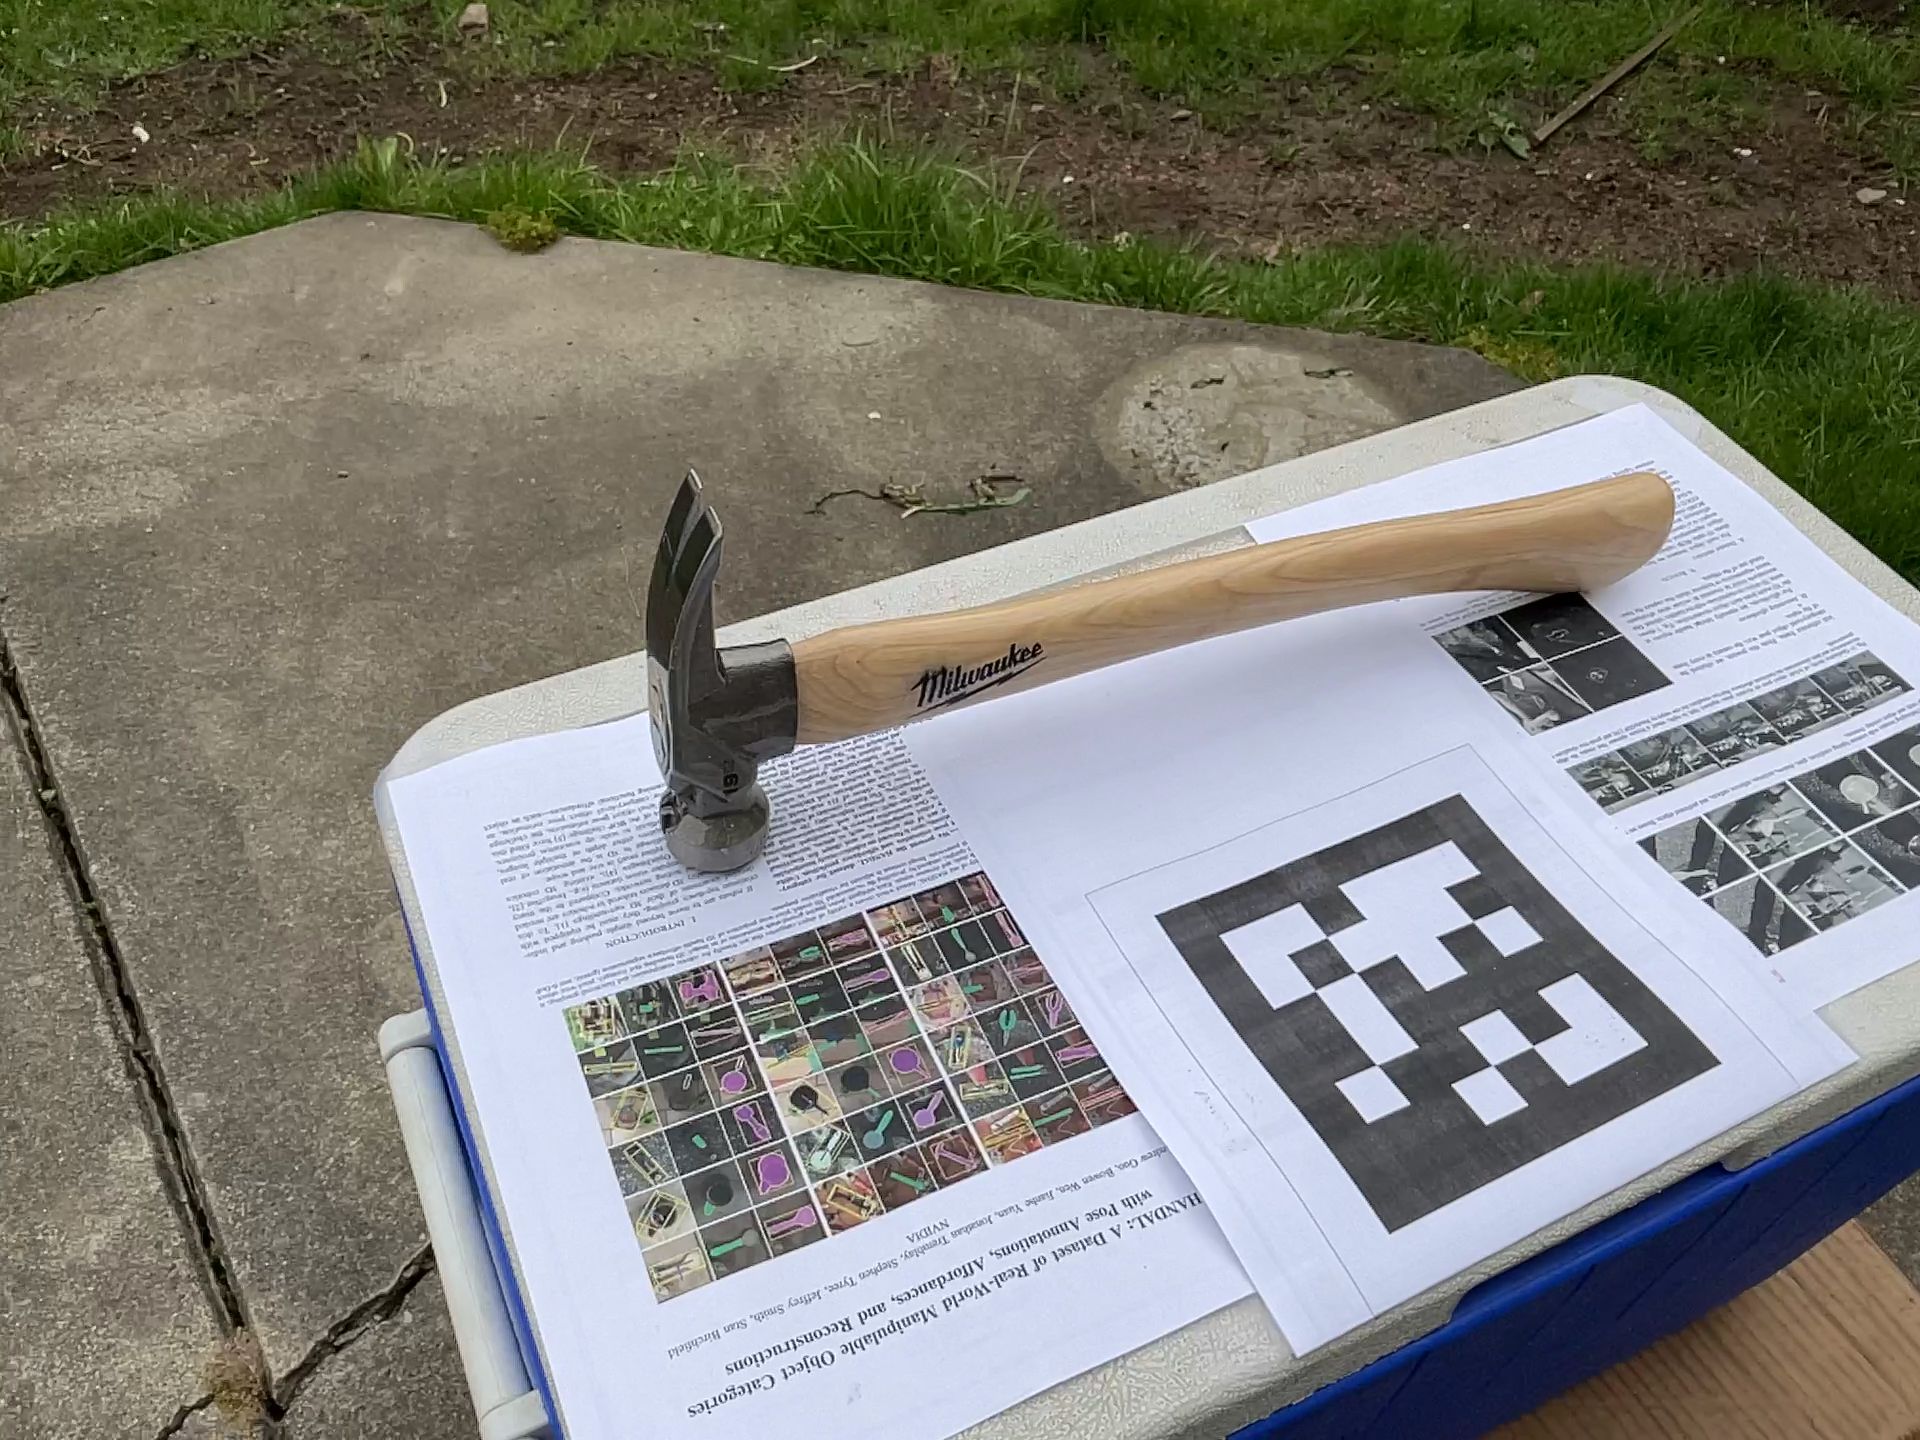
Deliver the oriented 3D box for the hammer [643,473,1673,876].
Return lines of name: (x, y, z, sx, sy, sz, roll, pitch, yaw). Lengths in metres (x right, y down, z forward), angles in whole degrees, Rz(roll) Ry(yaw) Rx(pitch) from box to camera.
hammer: (0.091, -0.049, 0.569, 0.410, 0.146, 0.038, -13, 48, -20)
